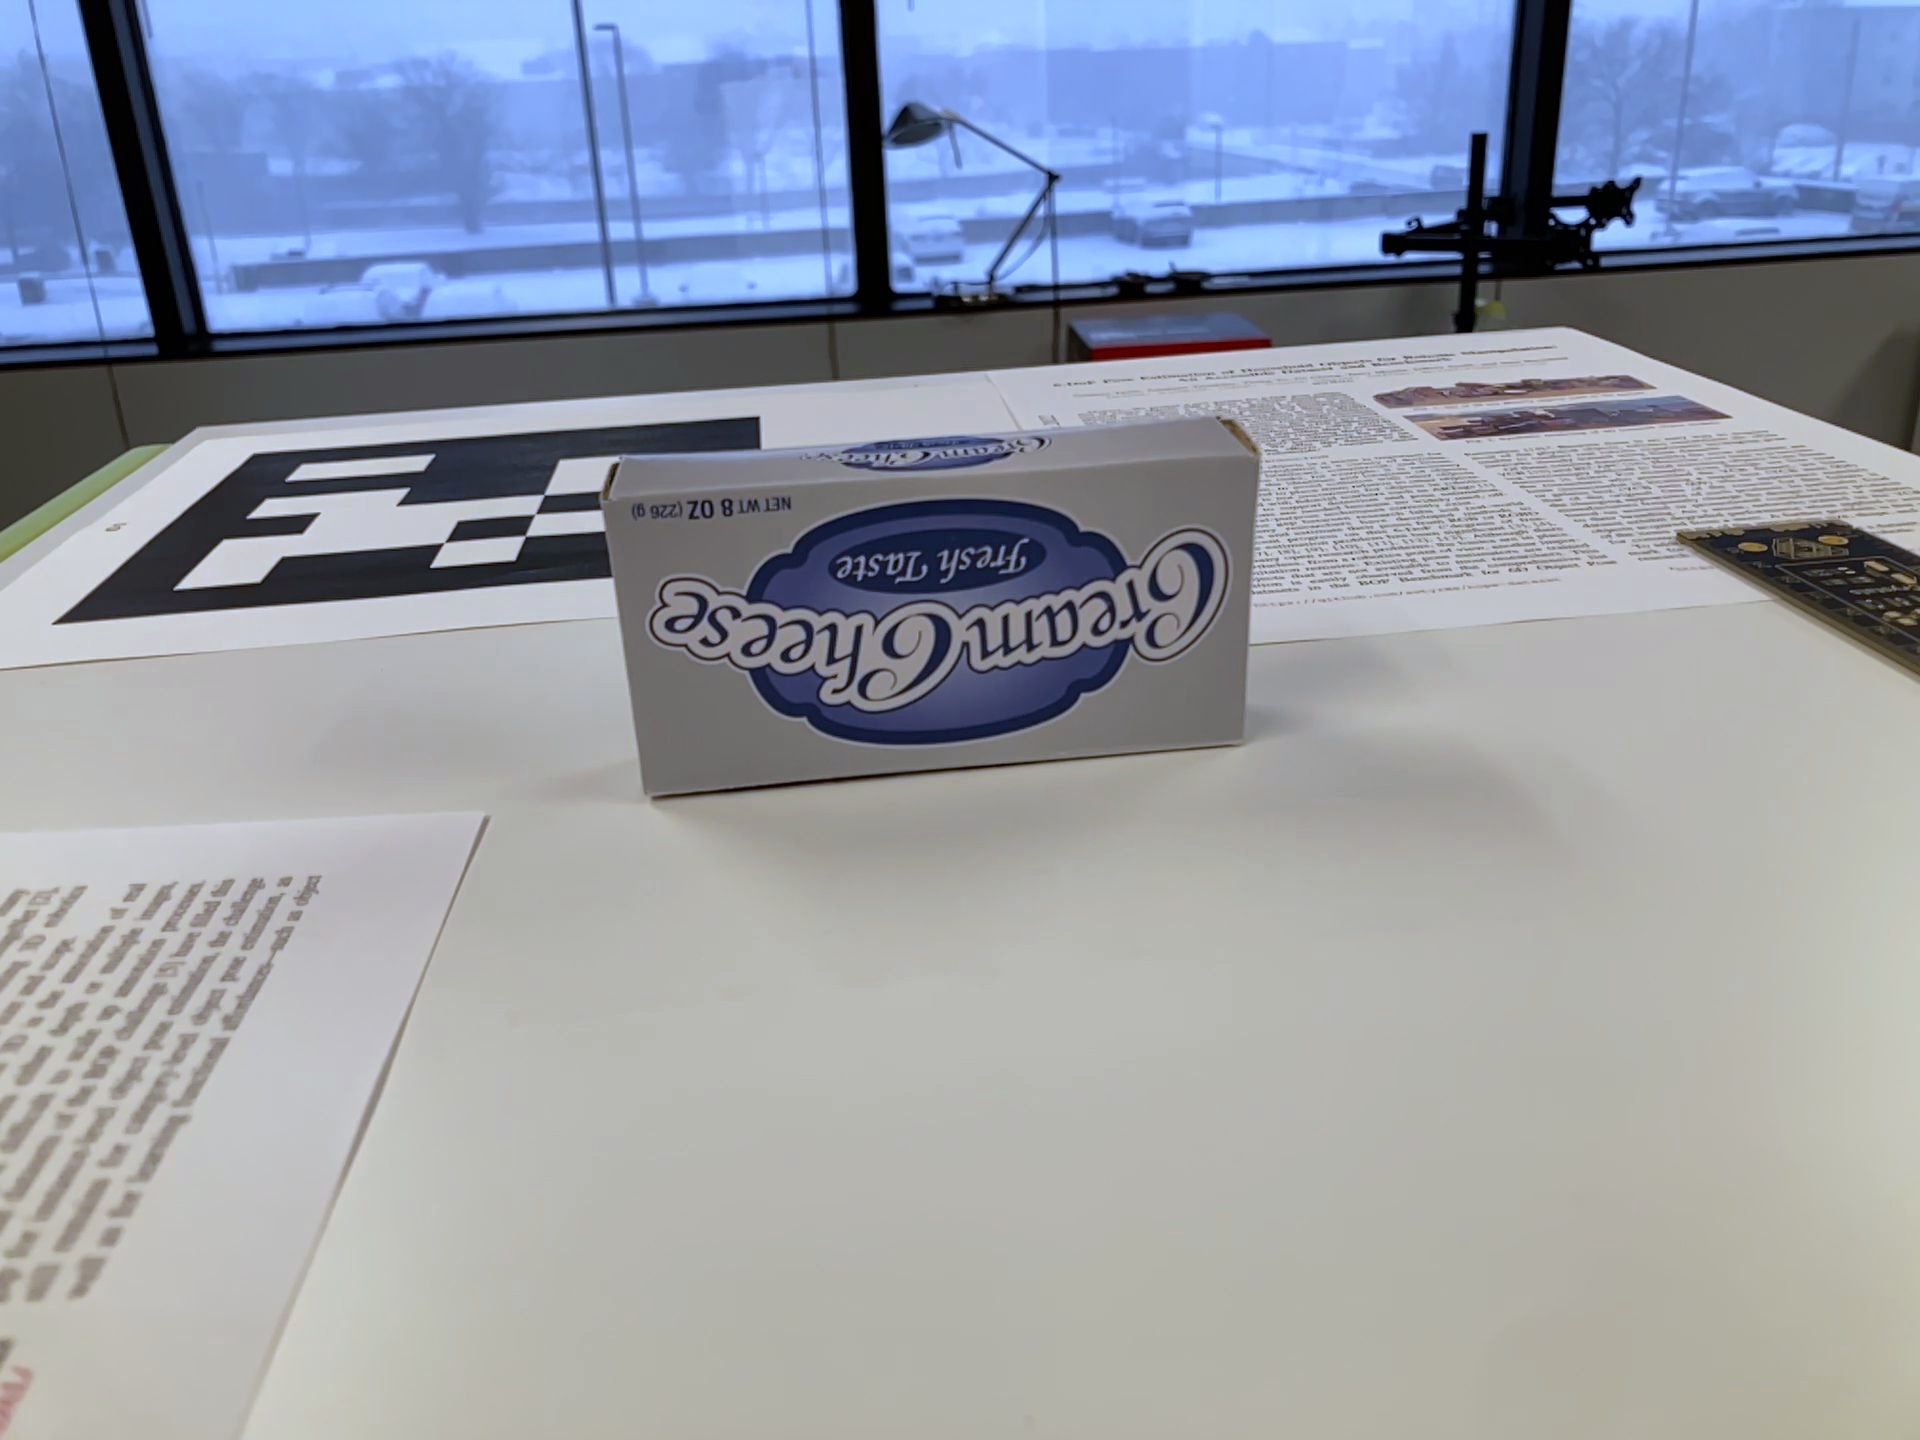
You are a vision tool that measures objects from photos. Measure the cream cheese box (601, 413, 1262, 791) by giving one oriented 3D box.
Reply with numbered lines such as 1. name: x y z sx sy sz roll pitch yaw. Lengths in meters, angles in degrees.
1. cream cheese box: -0.003 -0.020 0.264 0.104 0.053 0.024 -5 24 -5
